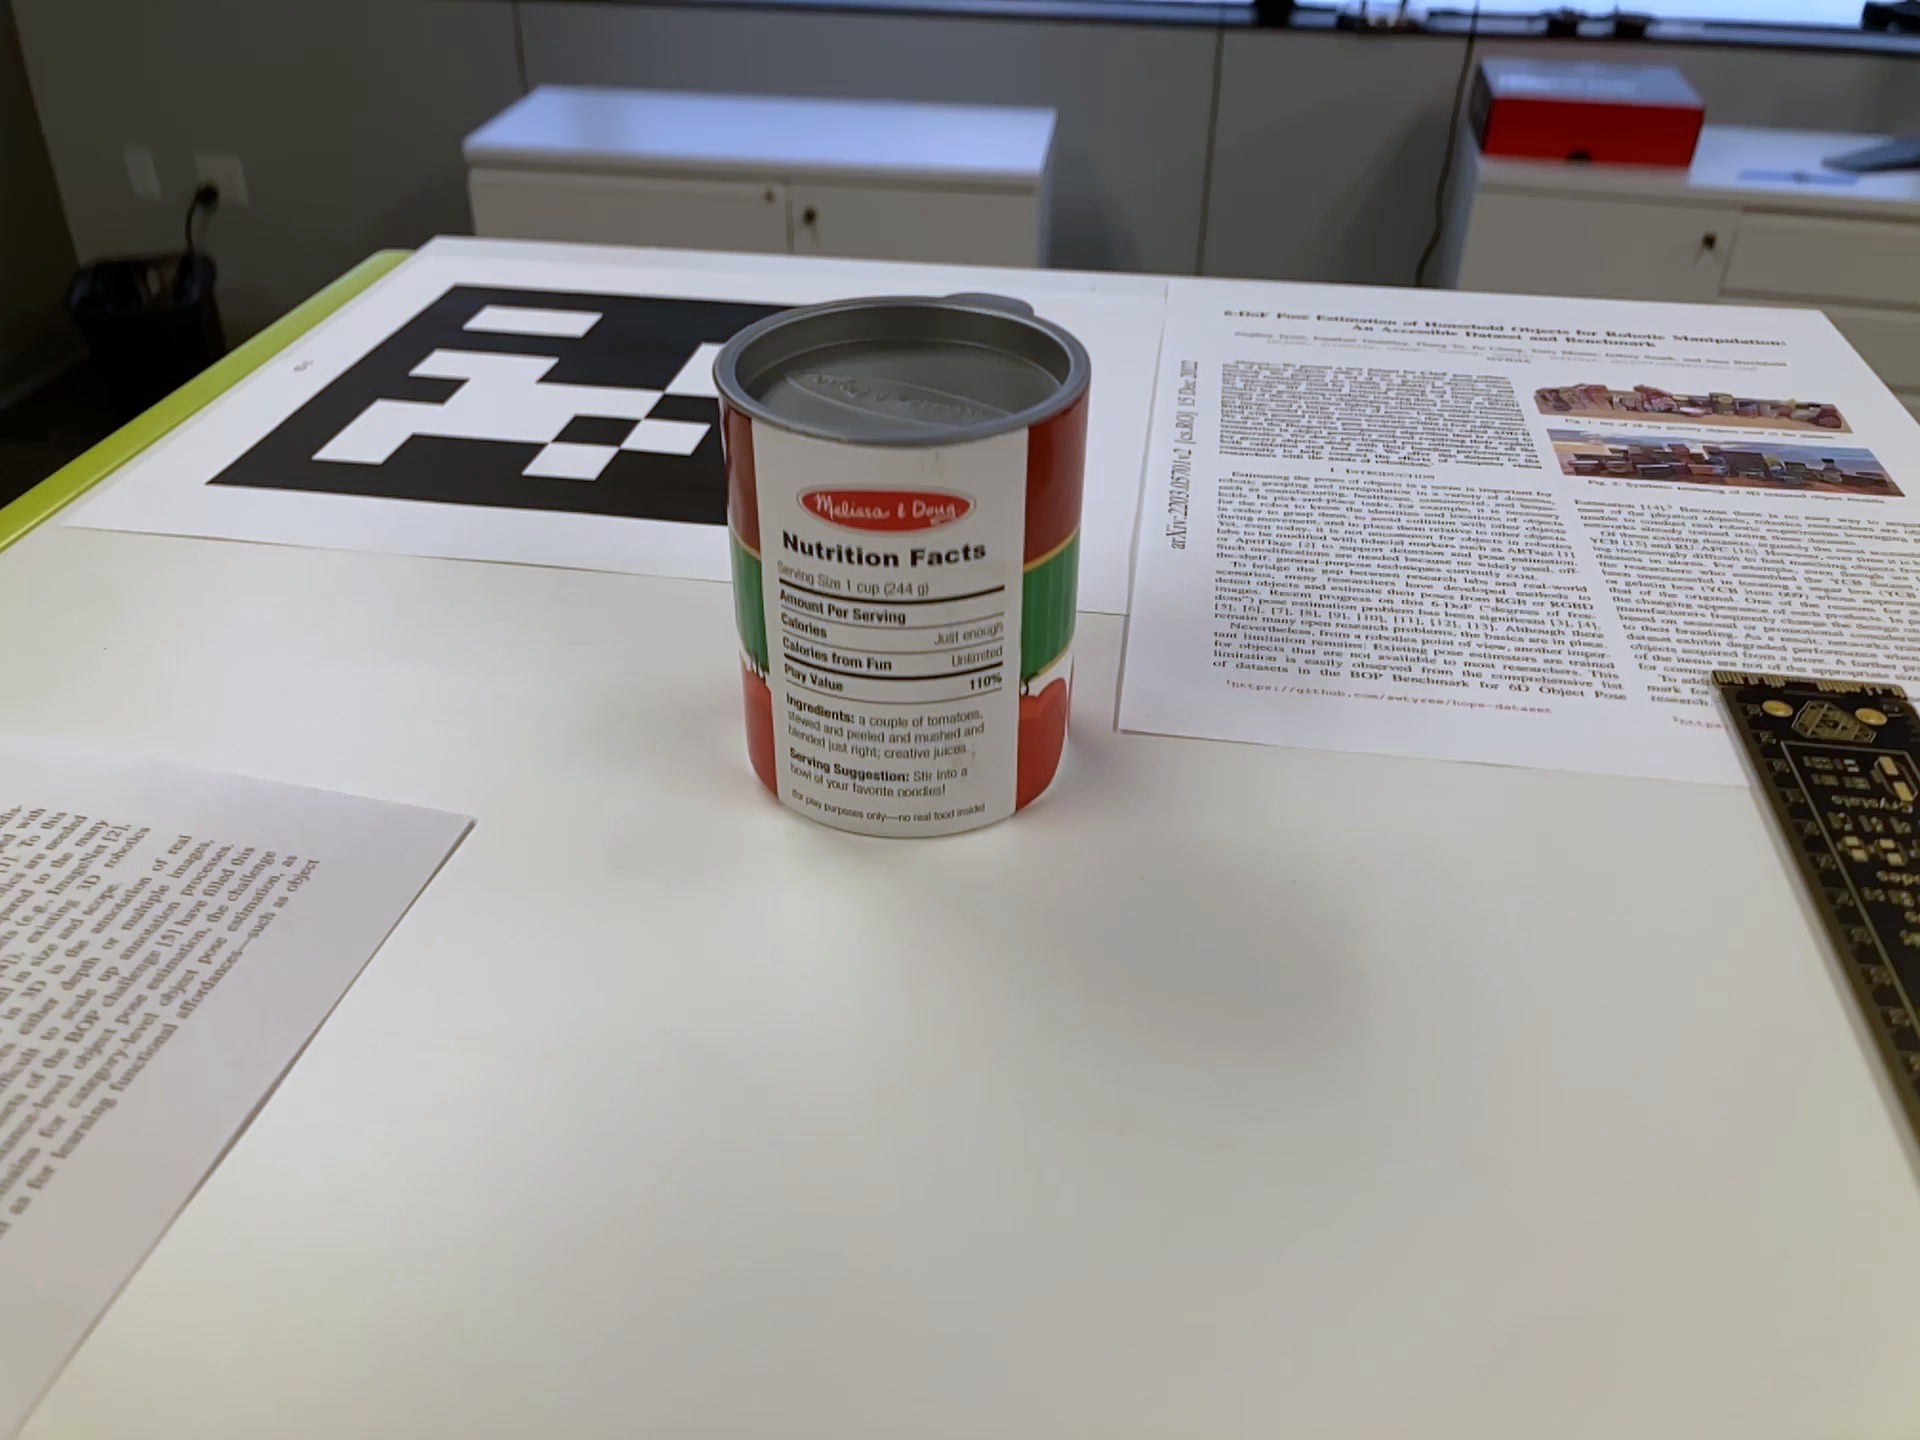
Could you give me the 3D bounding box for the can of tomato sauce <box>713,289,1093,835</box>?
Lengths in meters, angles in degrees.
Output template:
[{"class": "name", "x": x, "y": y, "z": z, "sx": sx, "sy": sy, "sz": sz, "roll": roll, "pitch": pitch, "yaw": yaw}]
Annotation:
[{"class": "can of tomato sauce", "x": -0.010, "y": -0.031, "z": 0.304, "sx": 0.071, "sy": 0.083, "sz": 0.071, "roll": 0, "pitch": 34, "yaw": 0}]
